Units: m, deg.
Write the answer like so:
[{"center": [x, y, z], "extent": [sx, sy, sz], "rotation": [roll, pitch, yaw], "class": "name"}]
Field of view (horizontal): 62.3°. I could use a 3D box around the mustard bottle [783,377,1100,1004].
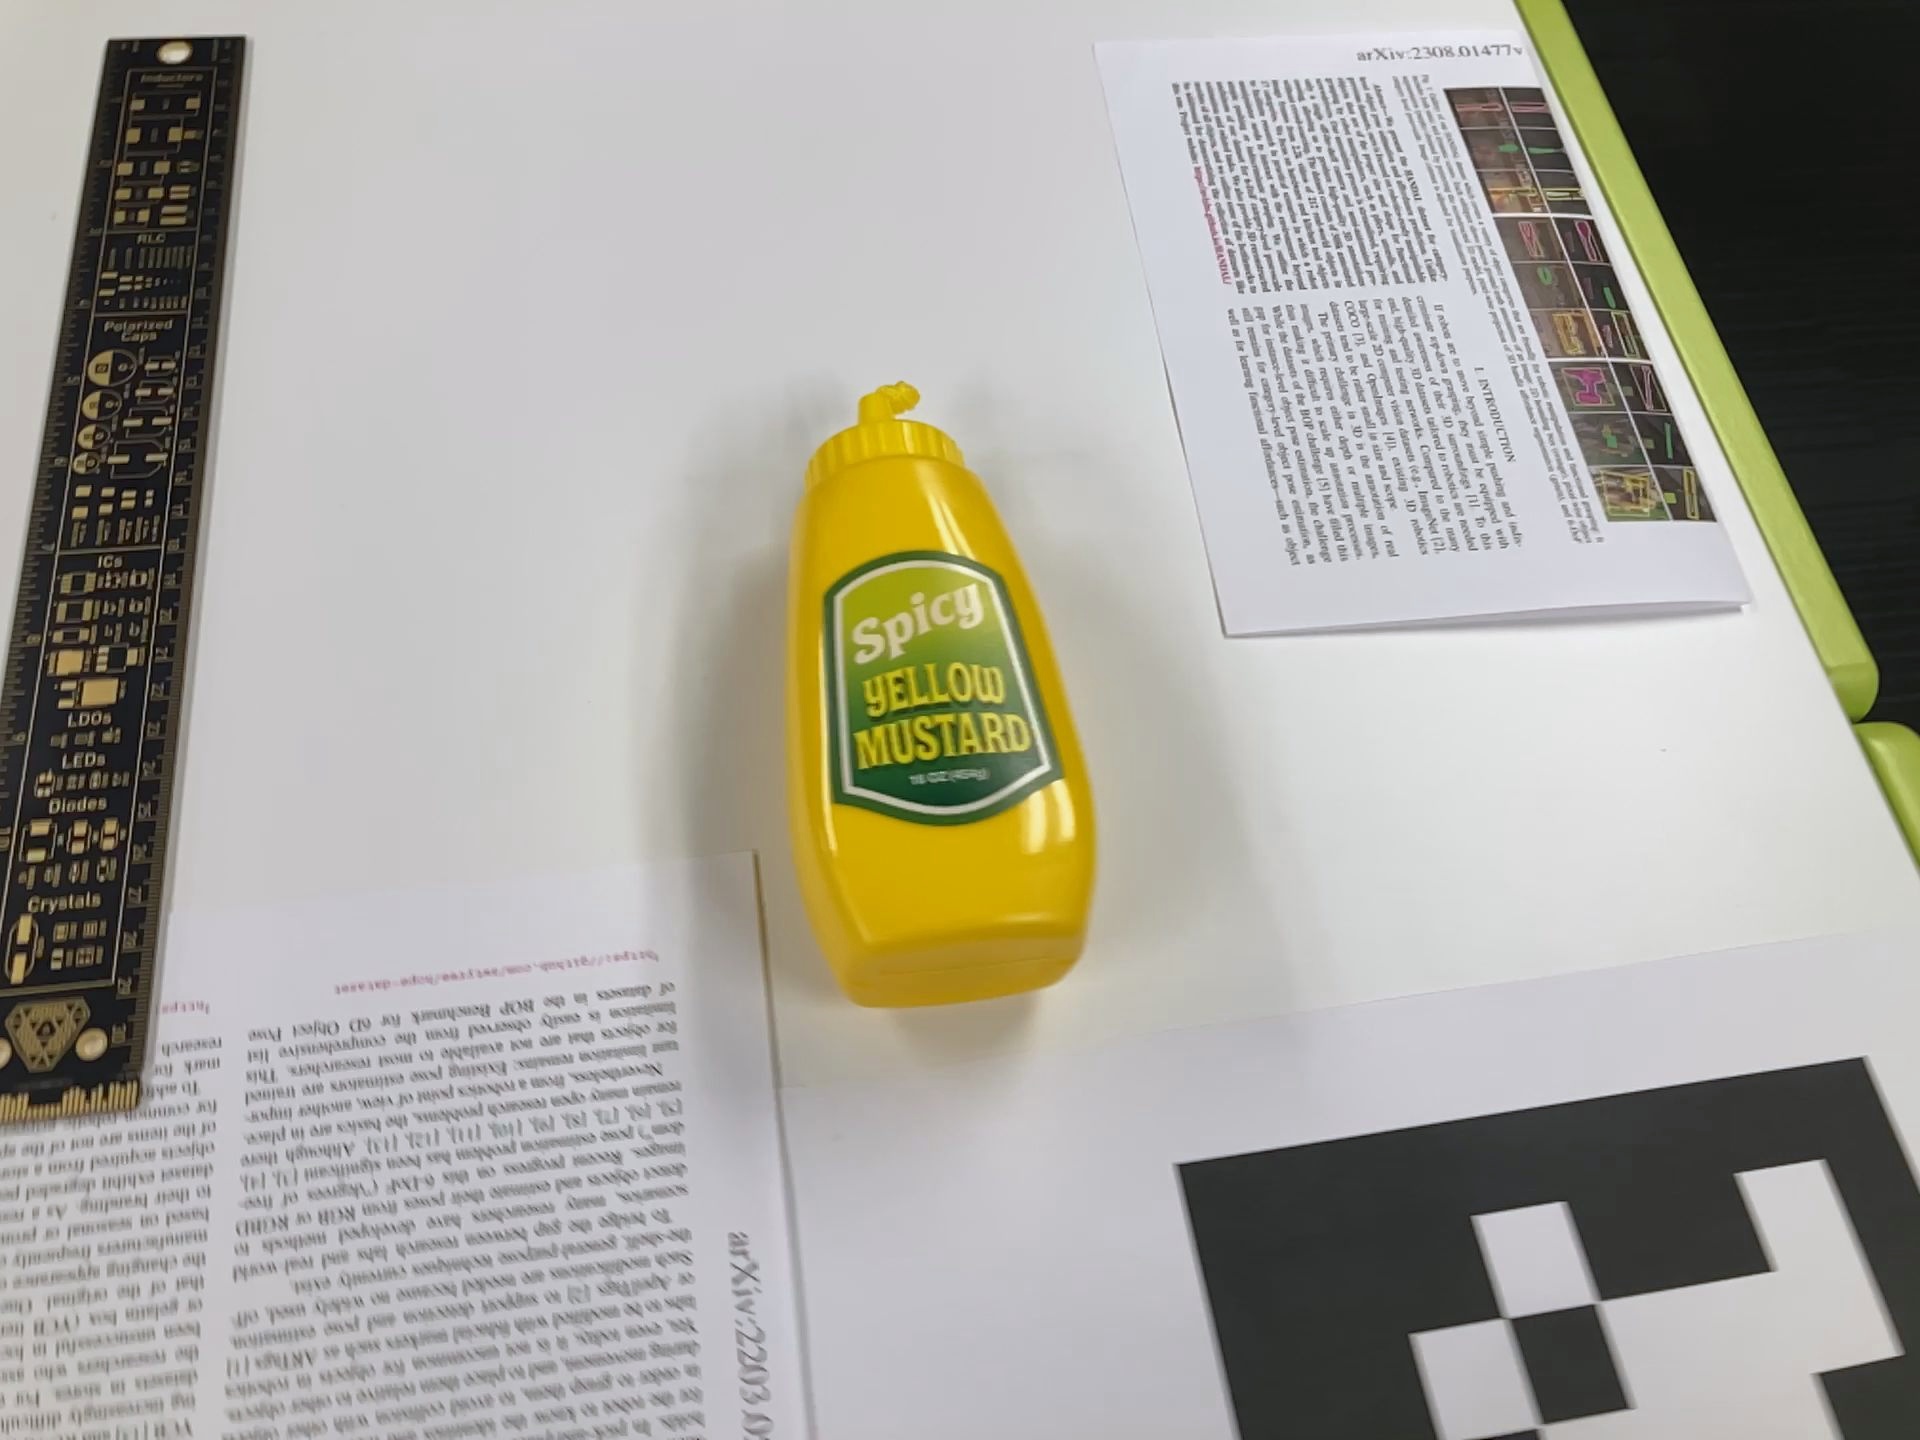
[{"center": [-0.012, -0.018, 0.360], "extent": [0.065, 0.049, 0.160], "rotation": [-6, 62, -10], "class": "mustard bottle"}]
